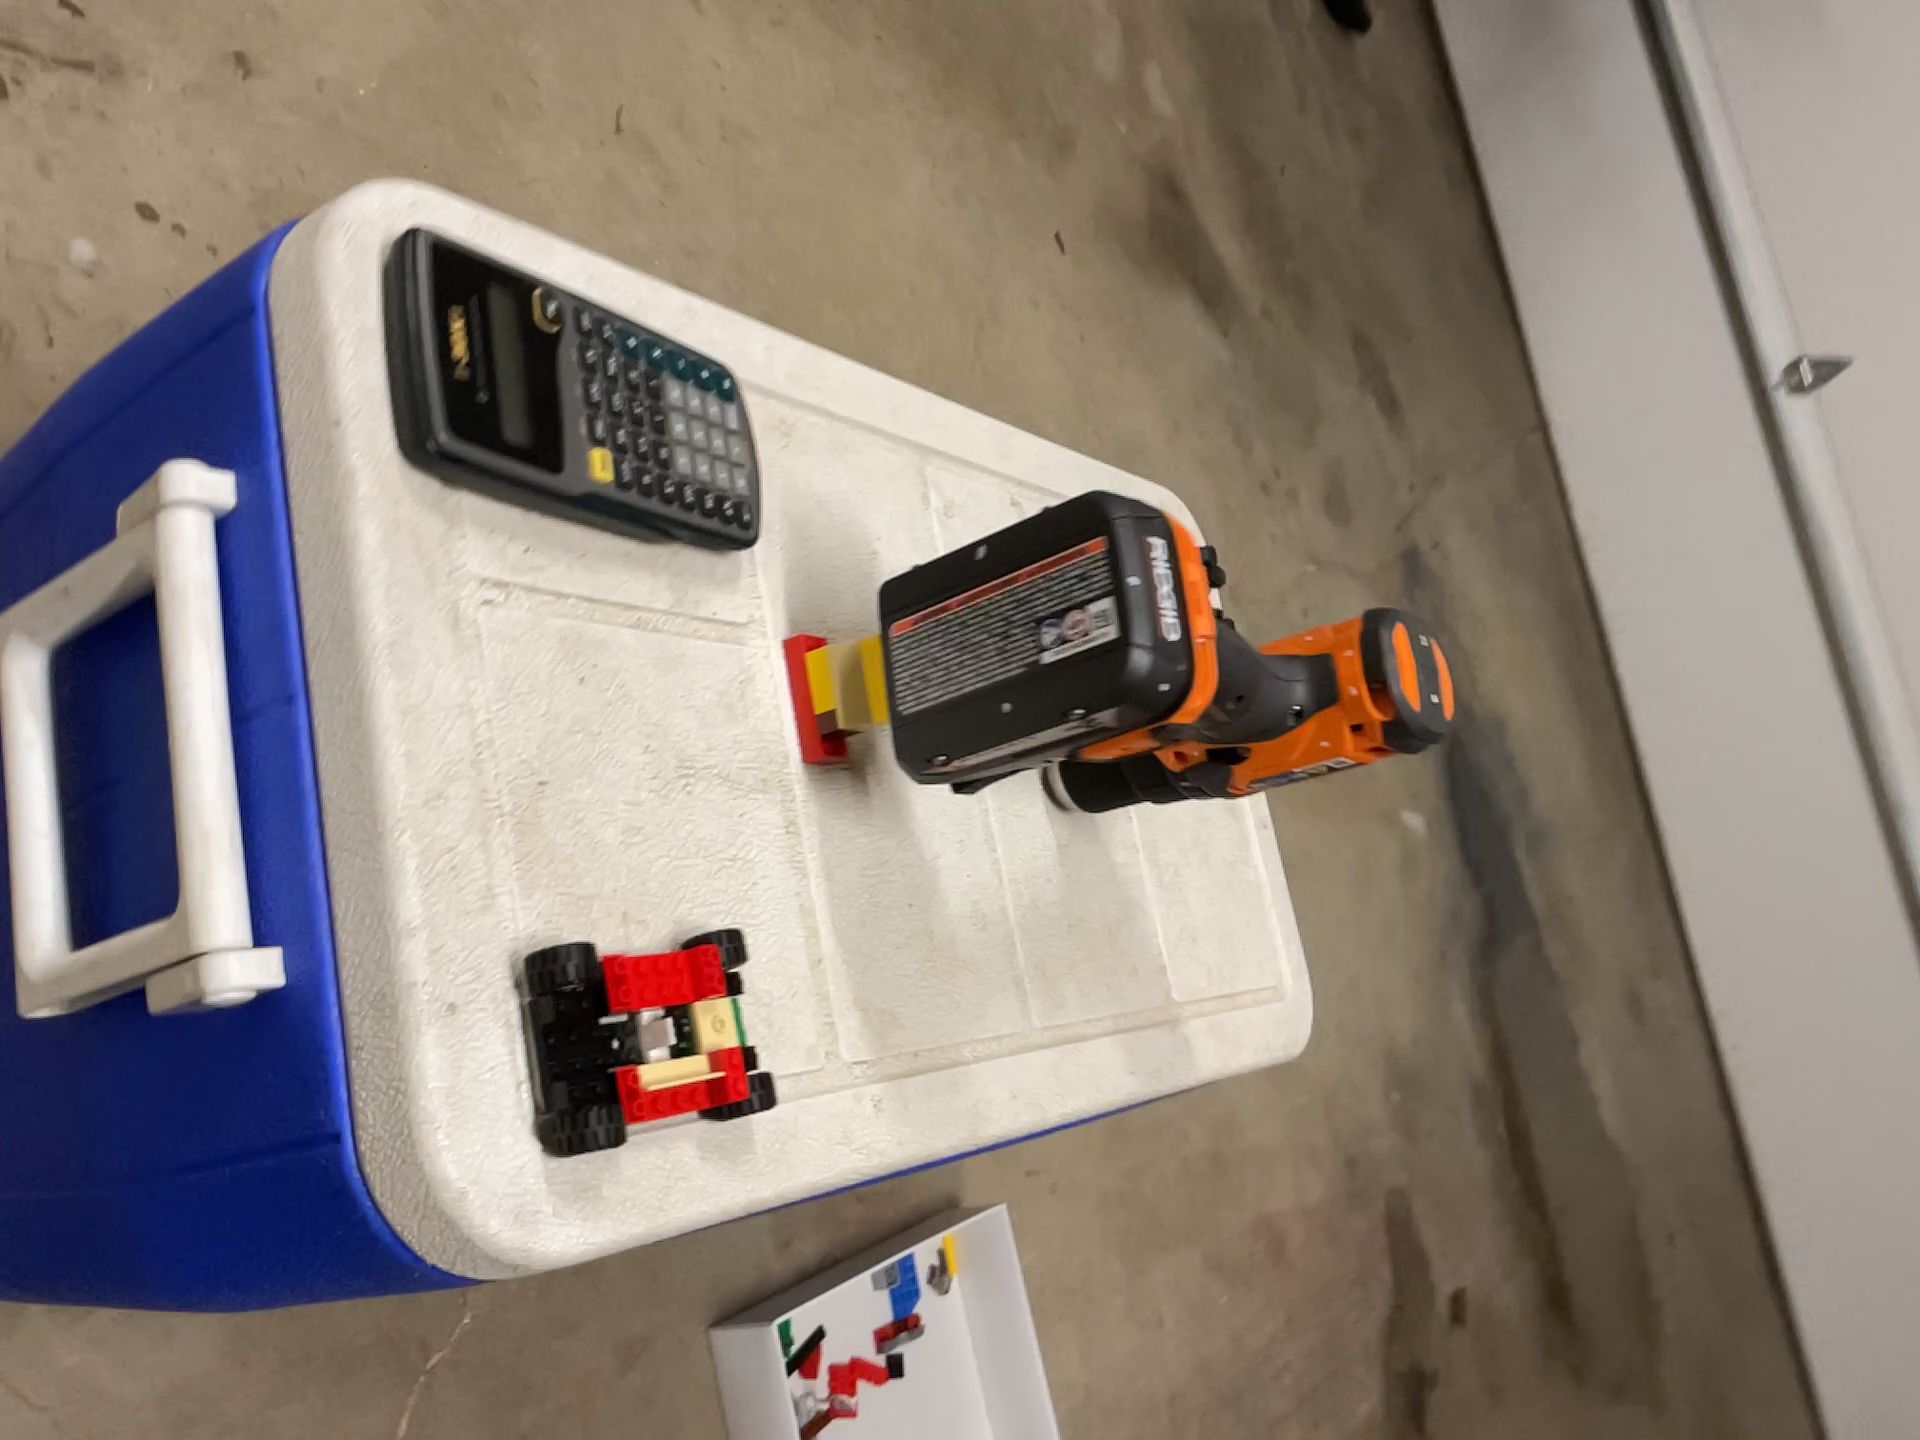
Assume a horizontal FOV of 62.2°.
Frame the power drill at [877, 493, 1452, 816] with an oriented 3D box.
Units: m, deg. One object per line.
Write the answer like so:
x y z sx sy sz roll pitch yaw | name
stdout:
0.065 -0.007 0.631 0.226 0.185 0.084 12 66 -49 | power drill
